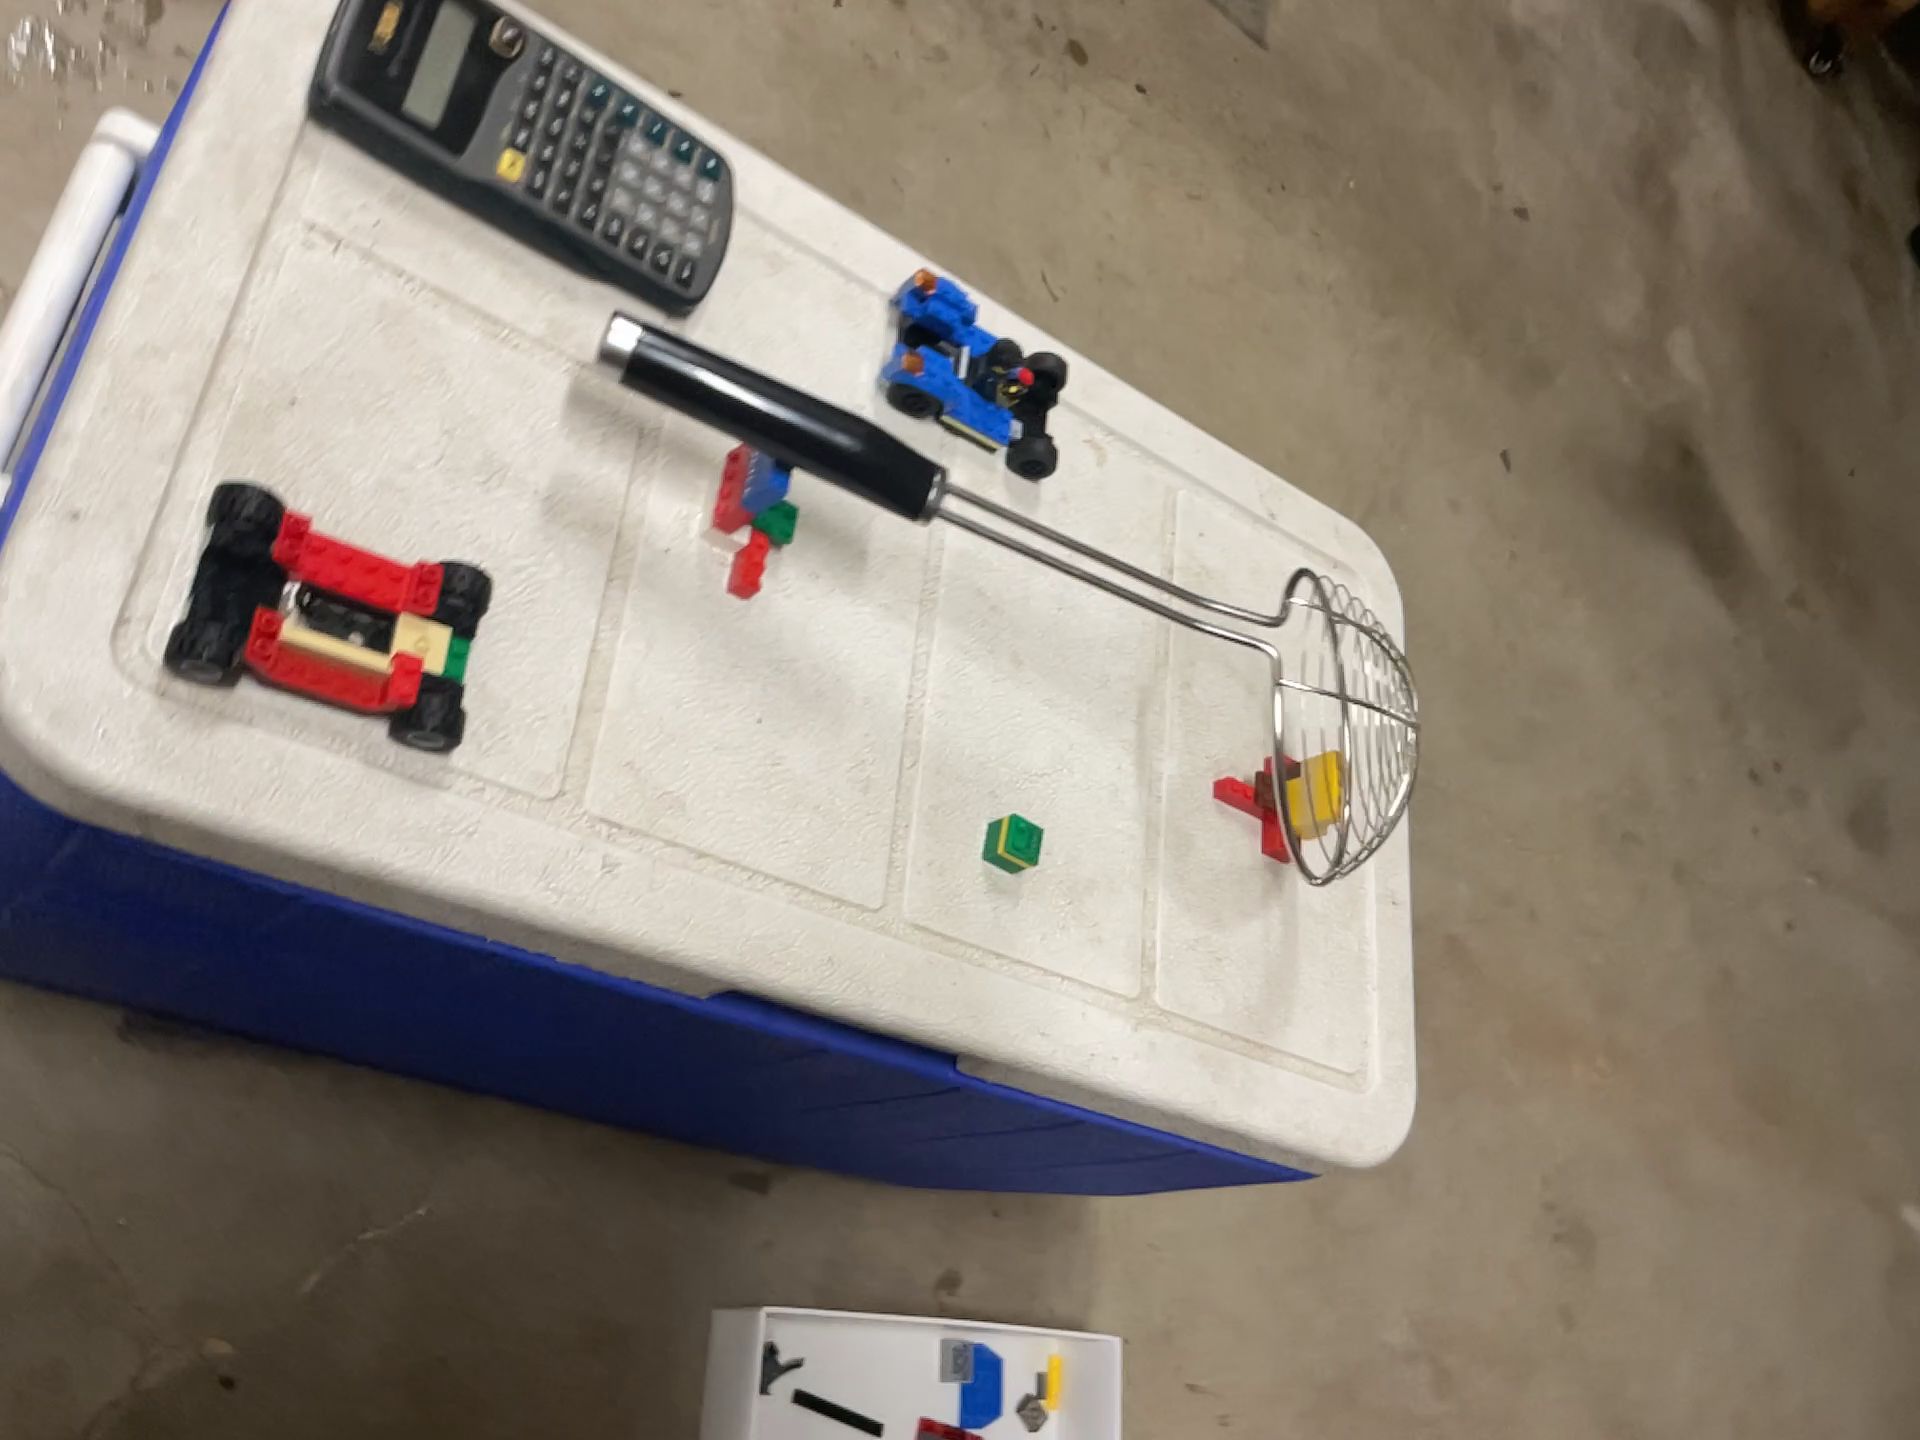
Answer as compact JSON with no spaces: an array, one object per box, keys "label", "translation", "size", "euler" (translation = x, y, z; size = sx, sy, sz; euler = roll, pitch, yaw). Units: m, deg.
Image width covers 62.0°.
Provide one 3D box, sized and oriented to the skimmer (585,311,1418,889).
[{"label":"skimmer","translation":[0.028,-0.045,0.594],"size":[0.363,0.090,0.127],"euler":[22,60,-19]}]
